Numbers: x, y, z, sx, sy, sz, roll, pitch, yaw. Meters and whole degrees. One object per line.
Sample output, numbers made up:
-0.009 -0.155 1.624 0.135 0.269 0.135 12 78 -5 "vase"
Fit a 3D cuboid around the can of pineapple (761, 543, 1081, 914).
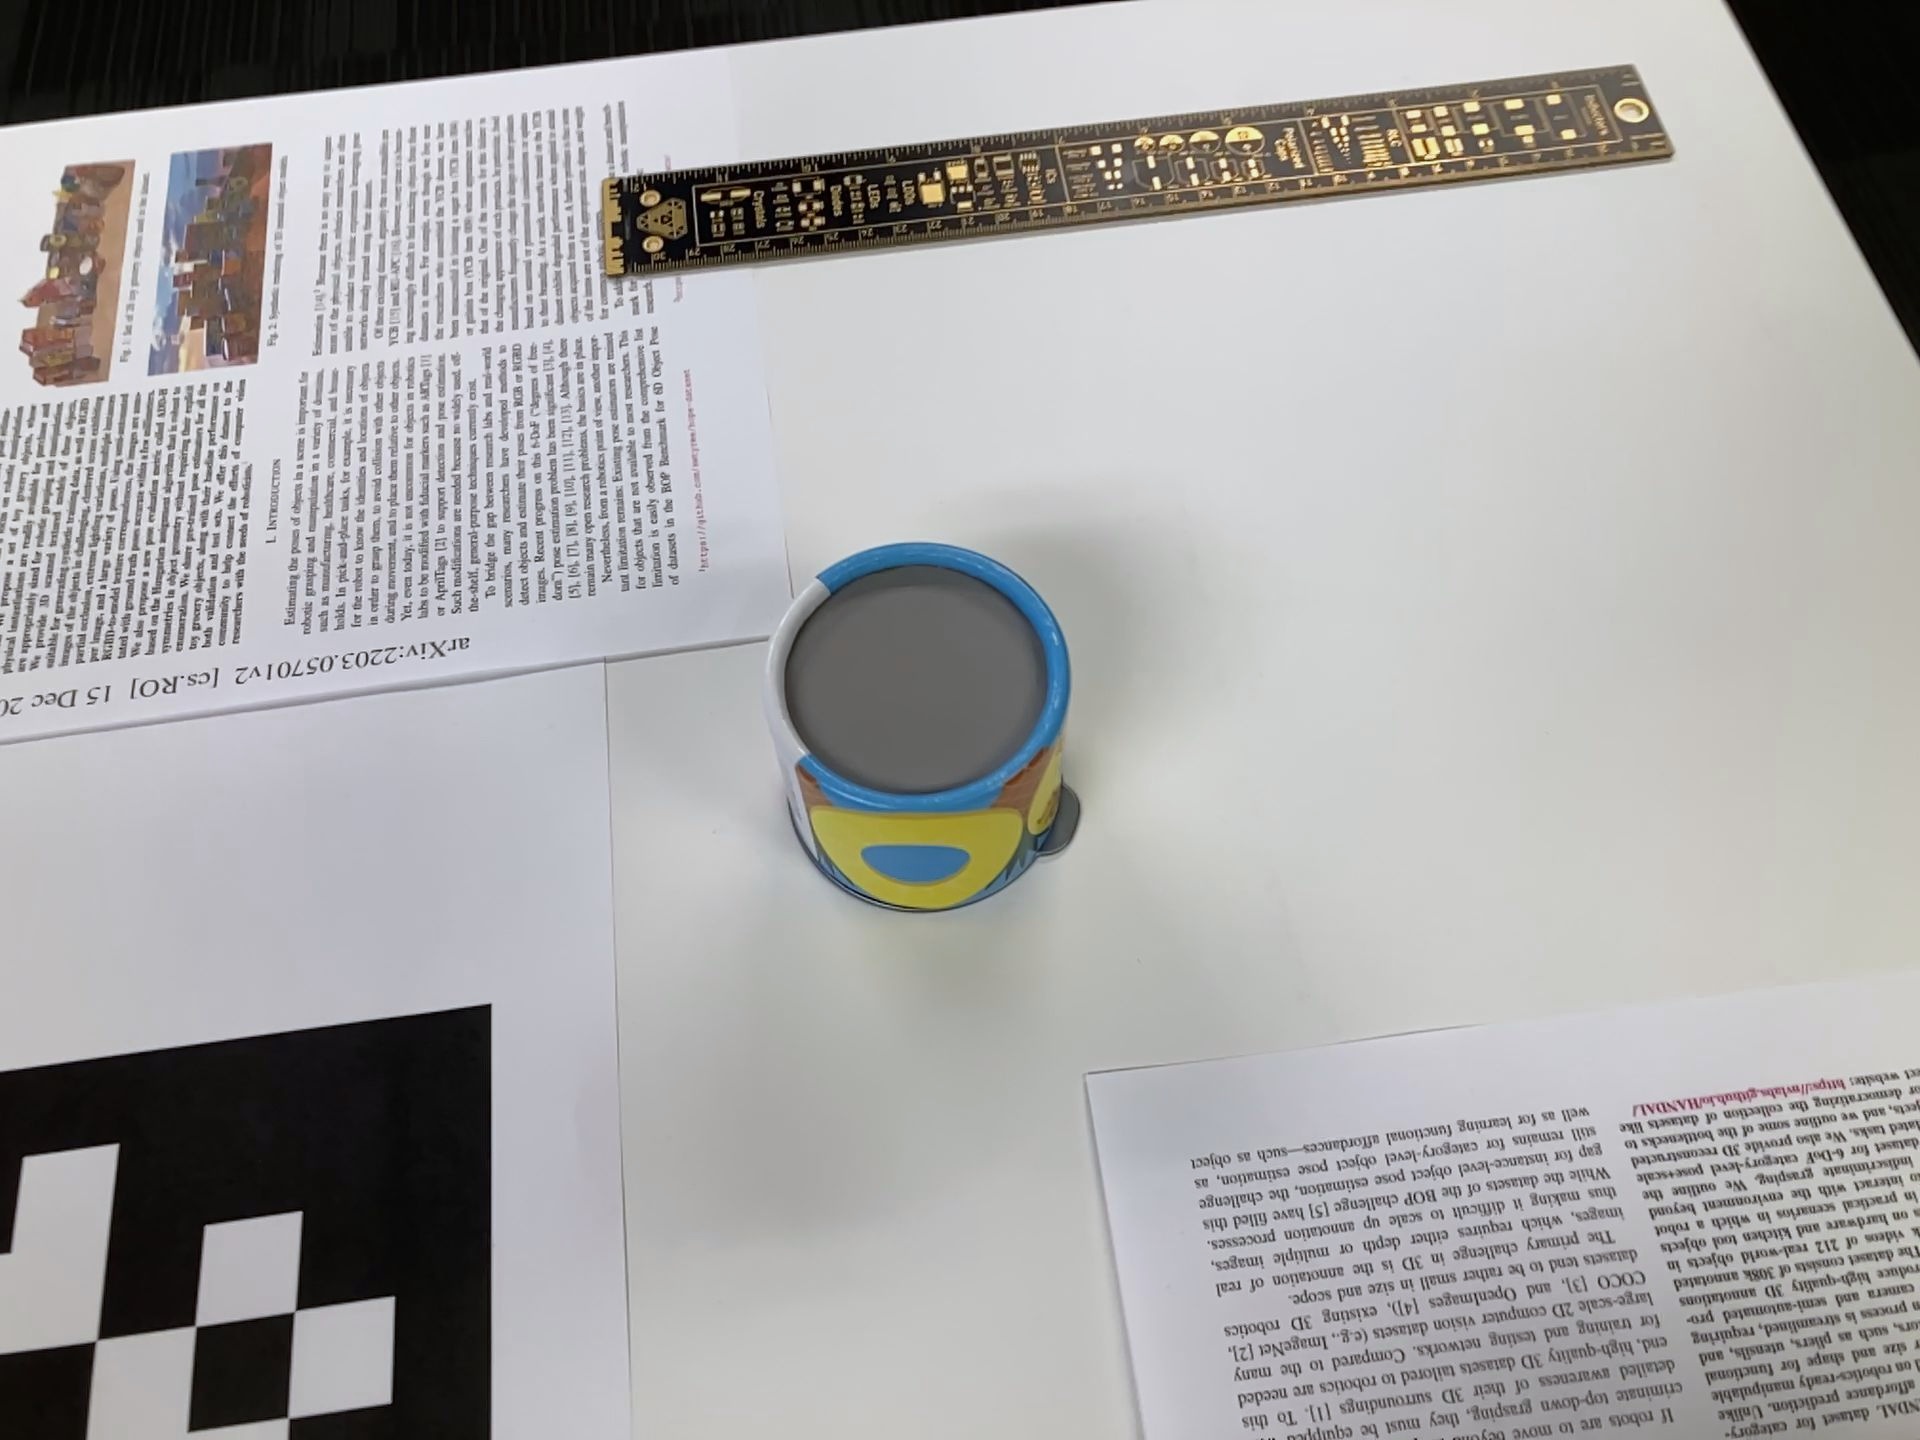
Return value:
-0.007 0.003 0.357 0.071 0.058 0.071 0 63 1 "can of pineapple"
